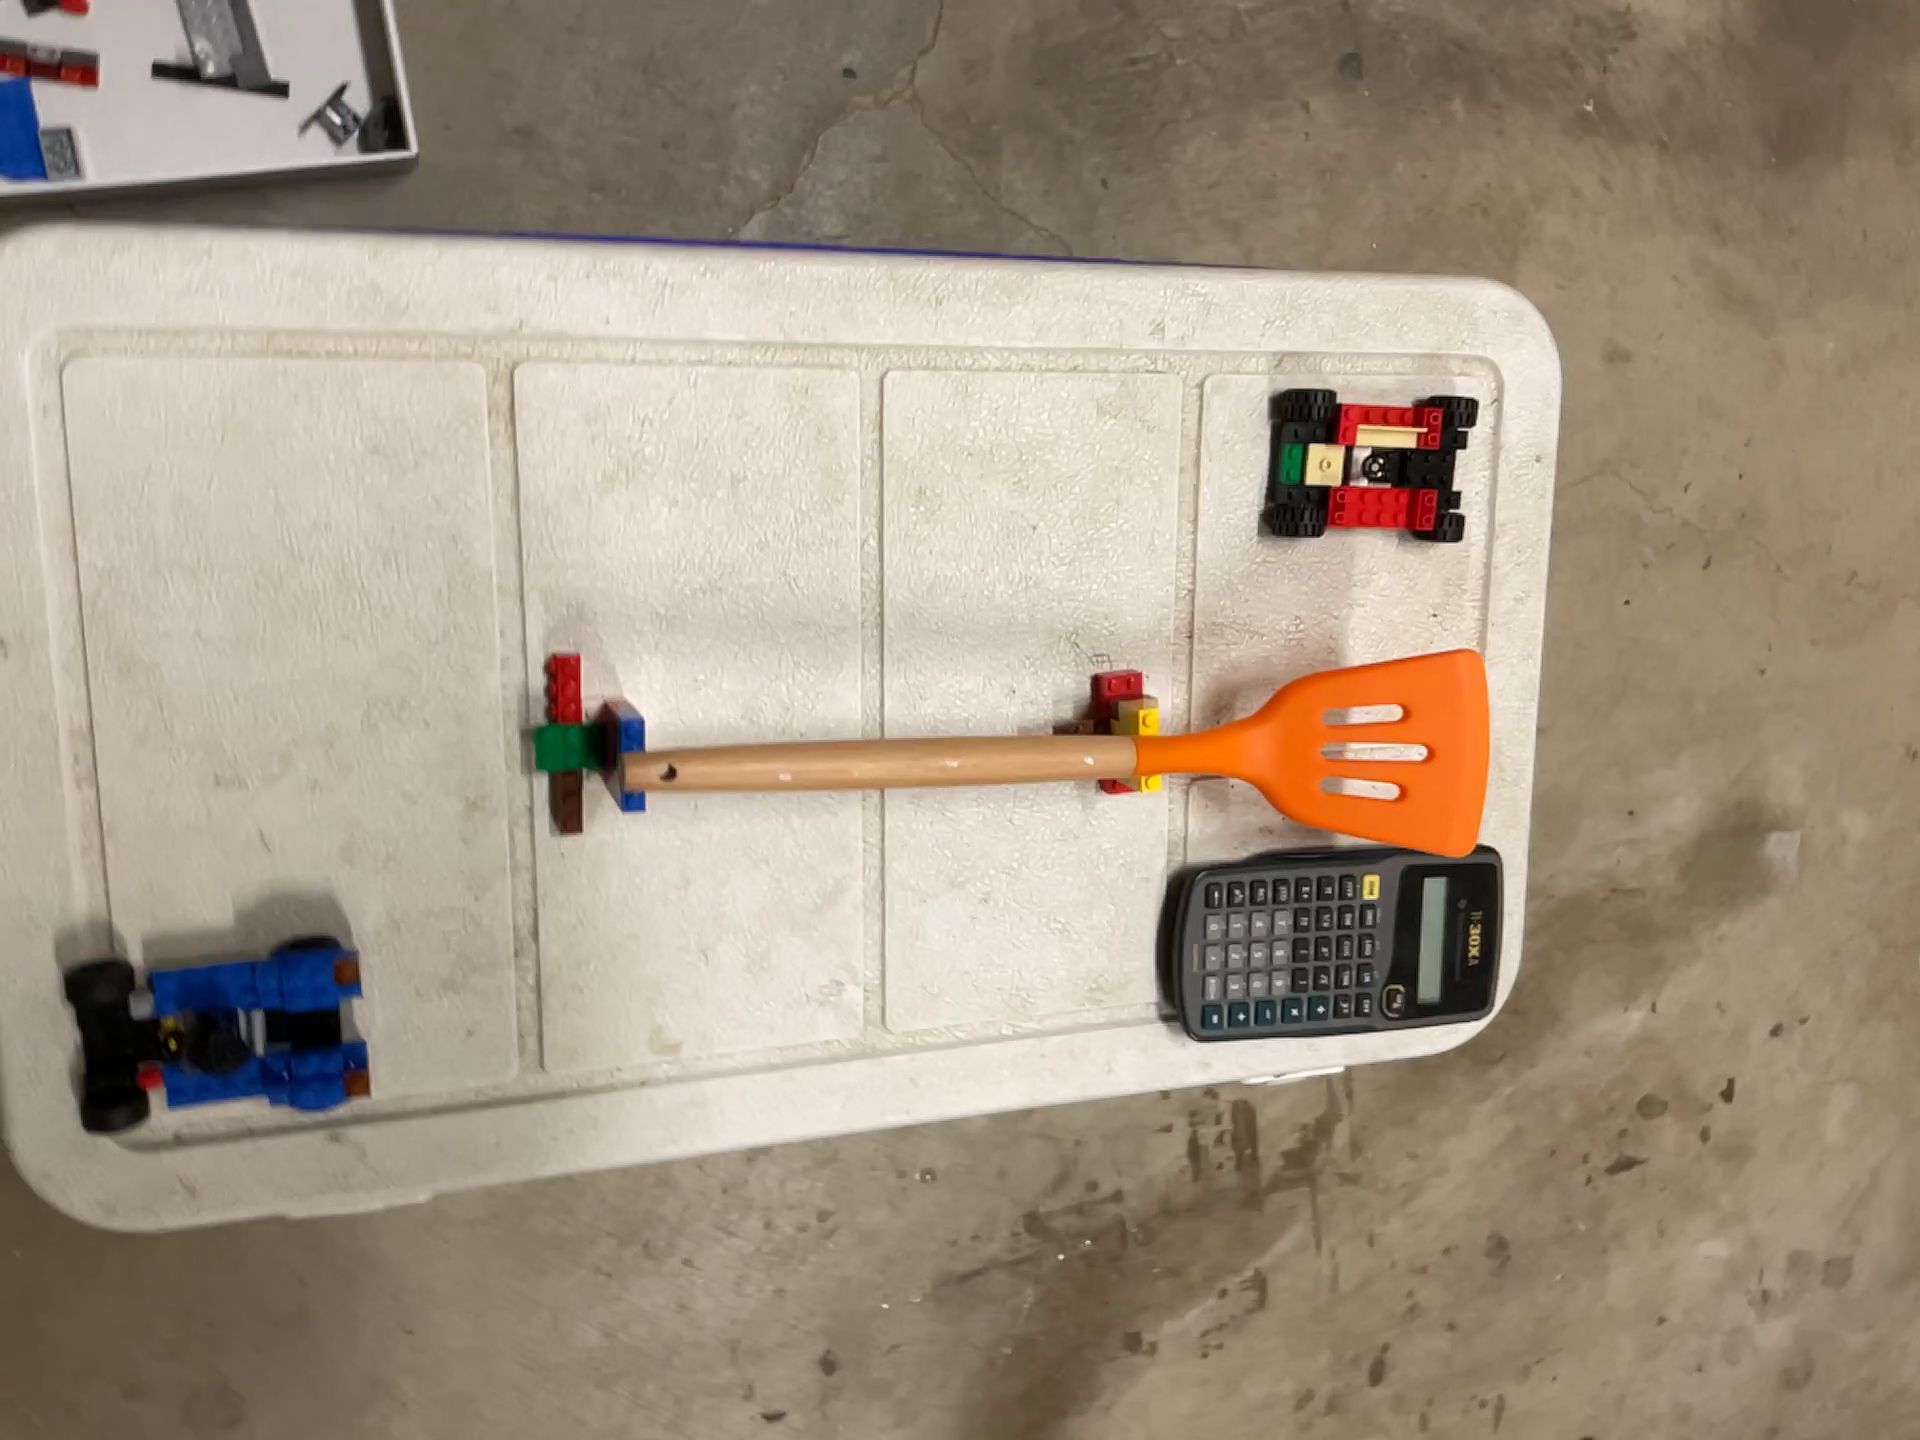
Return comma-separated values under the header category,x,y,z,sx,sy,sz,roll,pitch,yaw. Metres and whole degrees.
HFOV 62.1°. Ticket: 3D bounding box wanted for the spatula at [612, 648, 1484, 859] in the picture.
category,x,y,z,sx,sy,sz,roll,pitch,yaw
spatula,0.041,0.014,0.570,0.322,0.041,0.081,-1,97,-20
